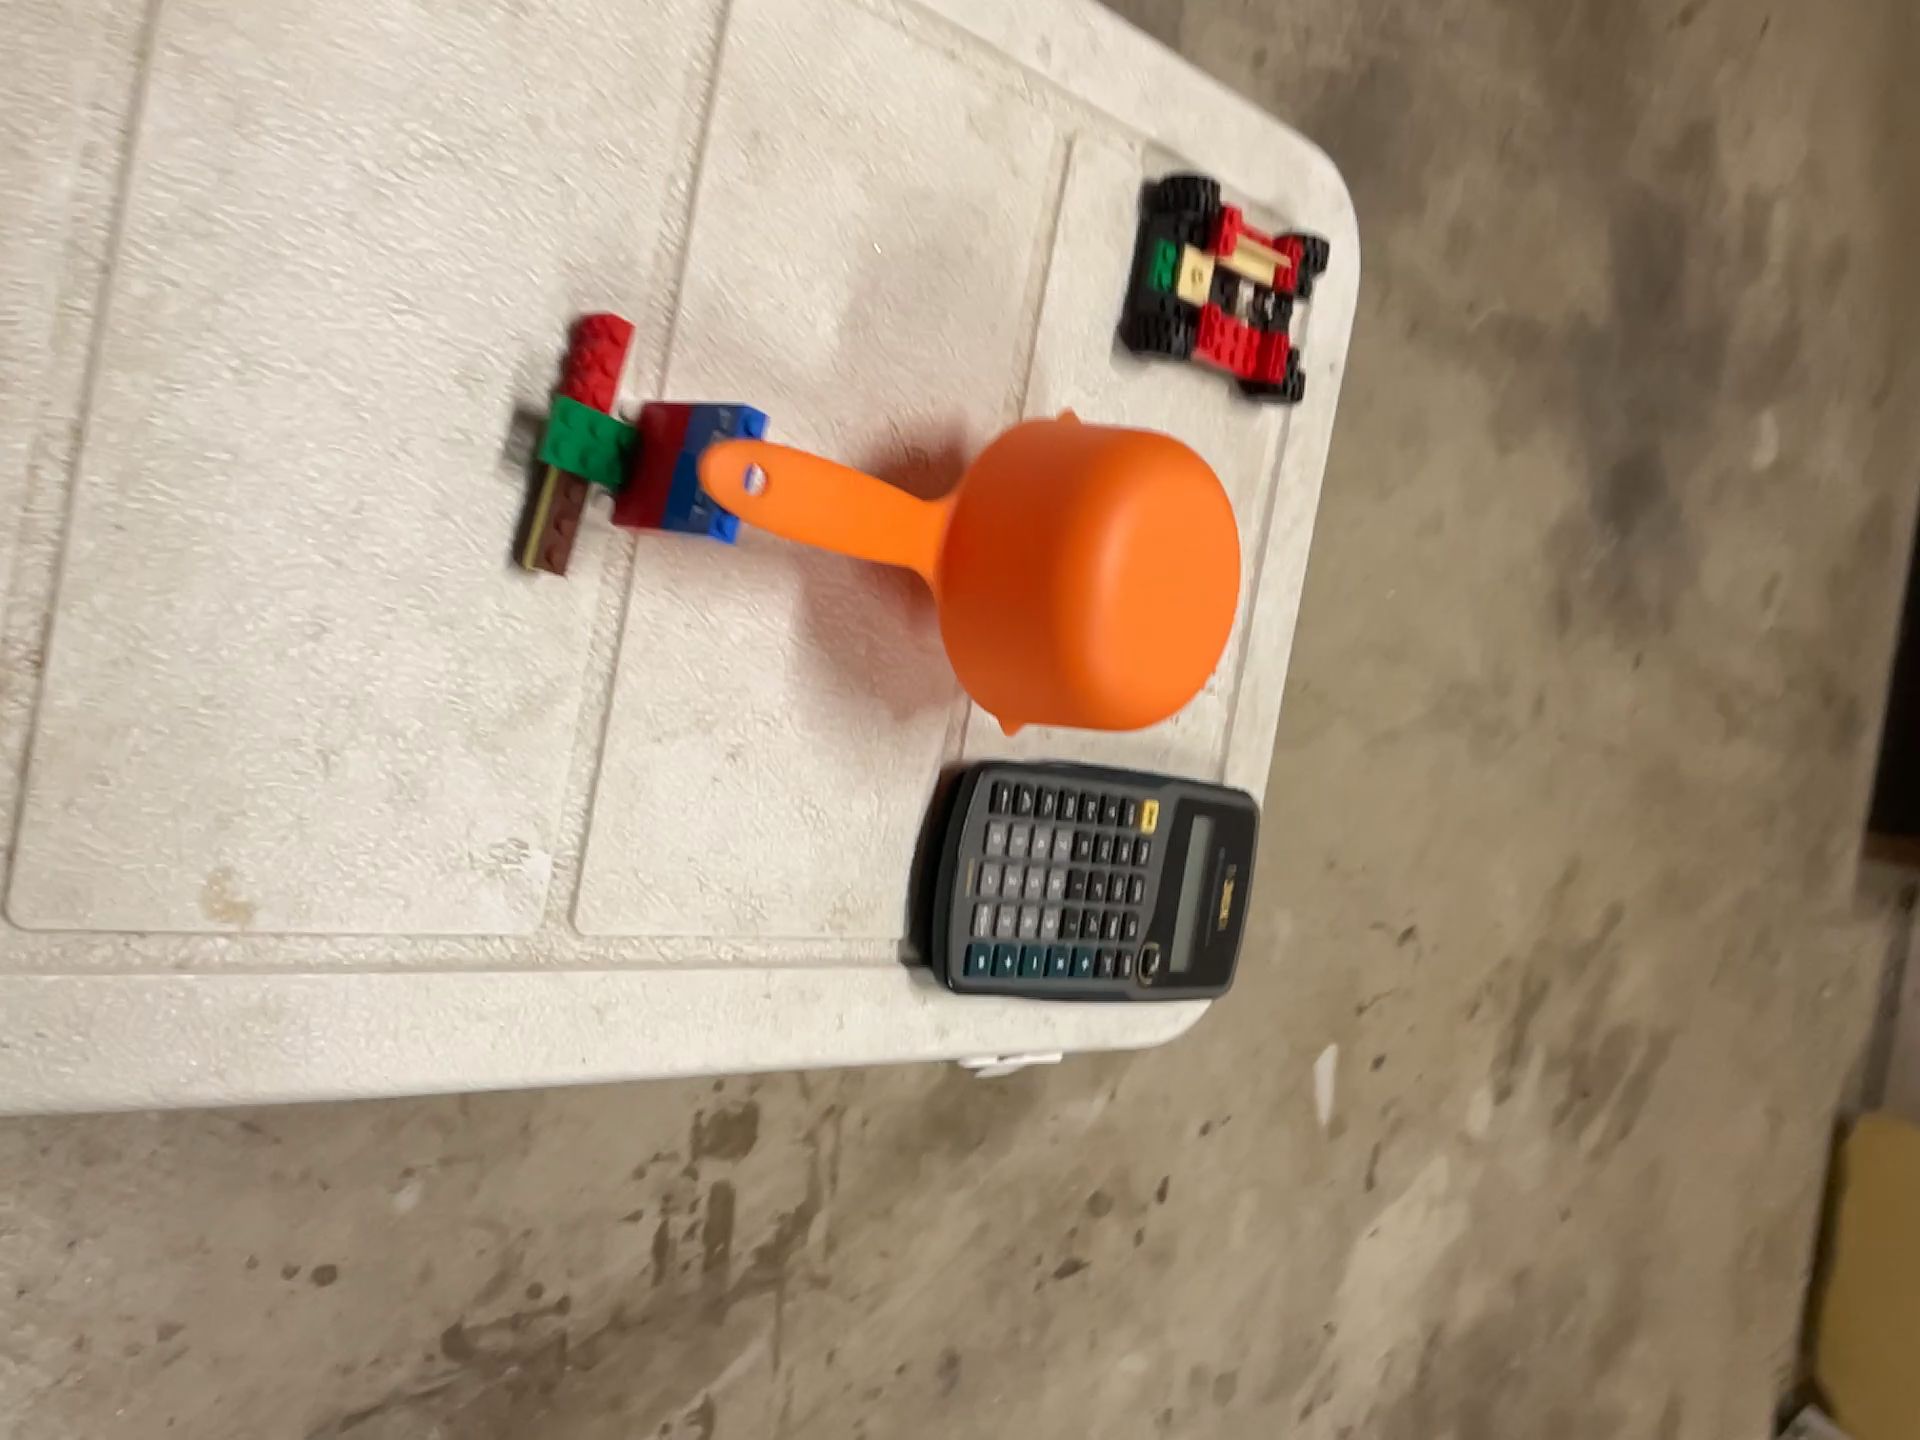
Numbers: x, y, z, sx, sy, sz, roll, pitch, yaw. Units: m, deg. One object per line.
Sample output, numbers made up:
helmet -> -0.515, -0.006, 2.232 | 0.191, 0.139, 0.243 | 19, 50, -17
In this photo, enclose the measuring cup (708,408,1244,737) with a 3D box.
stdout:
measuring cup -> 0.014, -0.044, 0.410 | 0.173, 0.052, 0.095 | 11, 89, -51
